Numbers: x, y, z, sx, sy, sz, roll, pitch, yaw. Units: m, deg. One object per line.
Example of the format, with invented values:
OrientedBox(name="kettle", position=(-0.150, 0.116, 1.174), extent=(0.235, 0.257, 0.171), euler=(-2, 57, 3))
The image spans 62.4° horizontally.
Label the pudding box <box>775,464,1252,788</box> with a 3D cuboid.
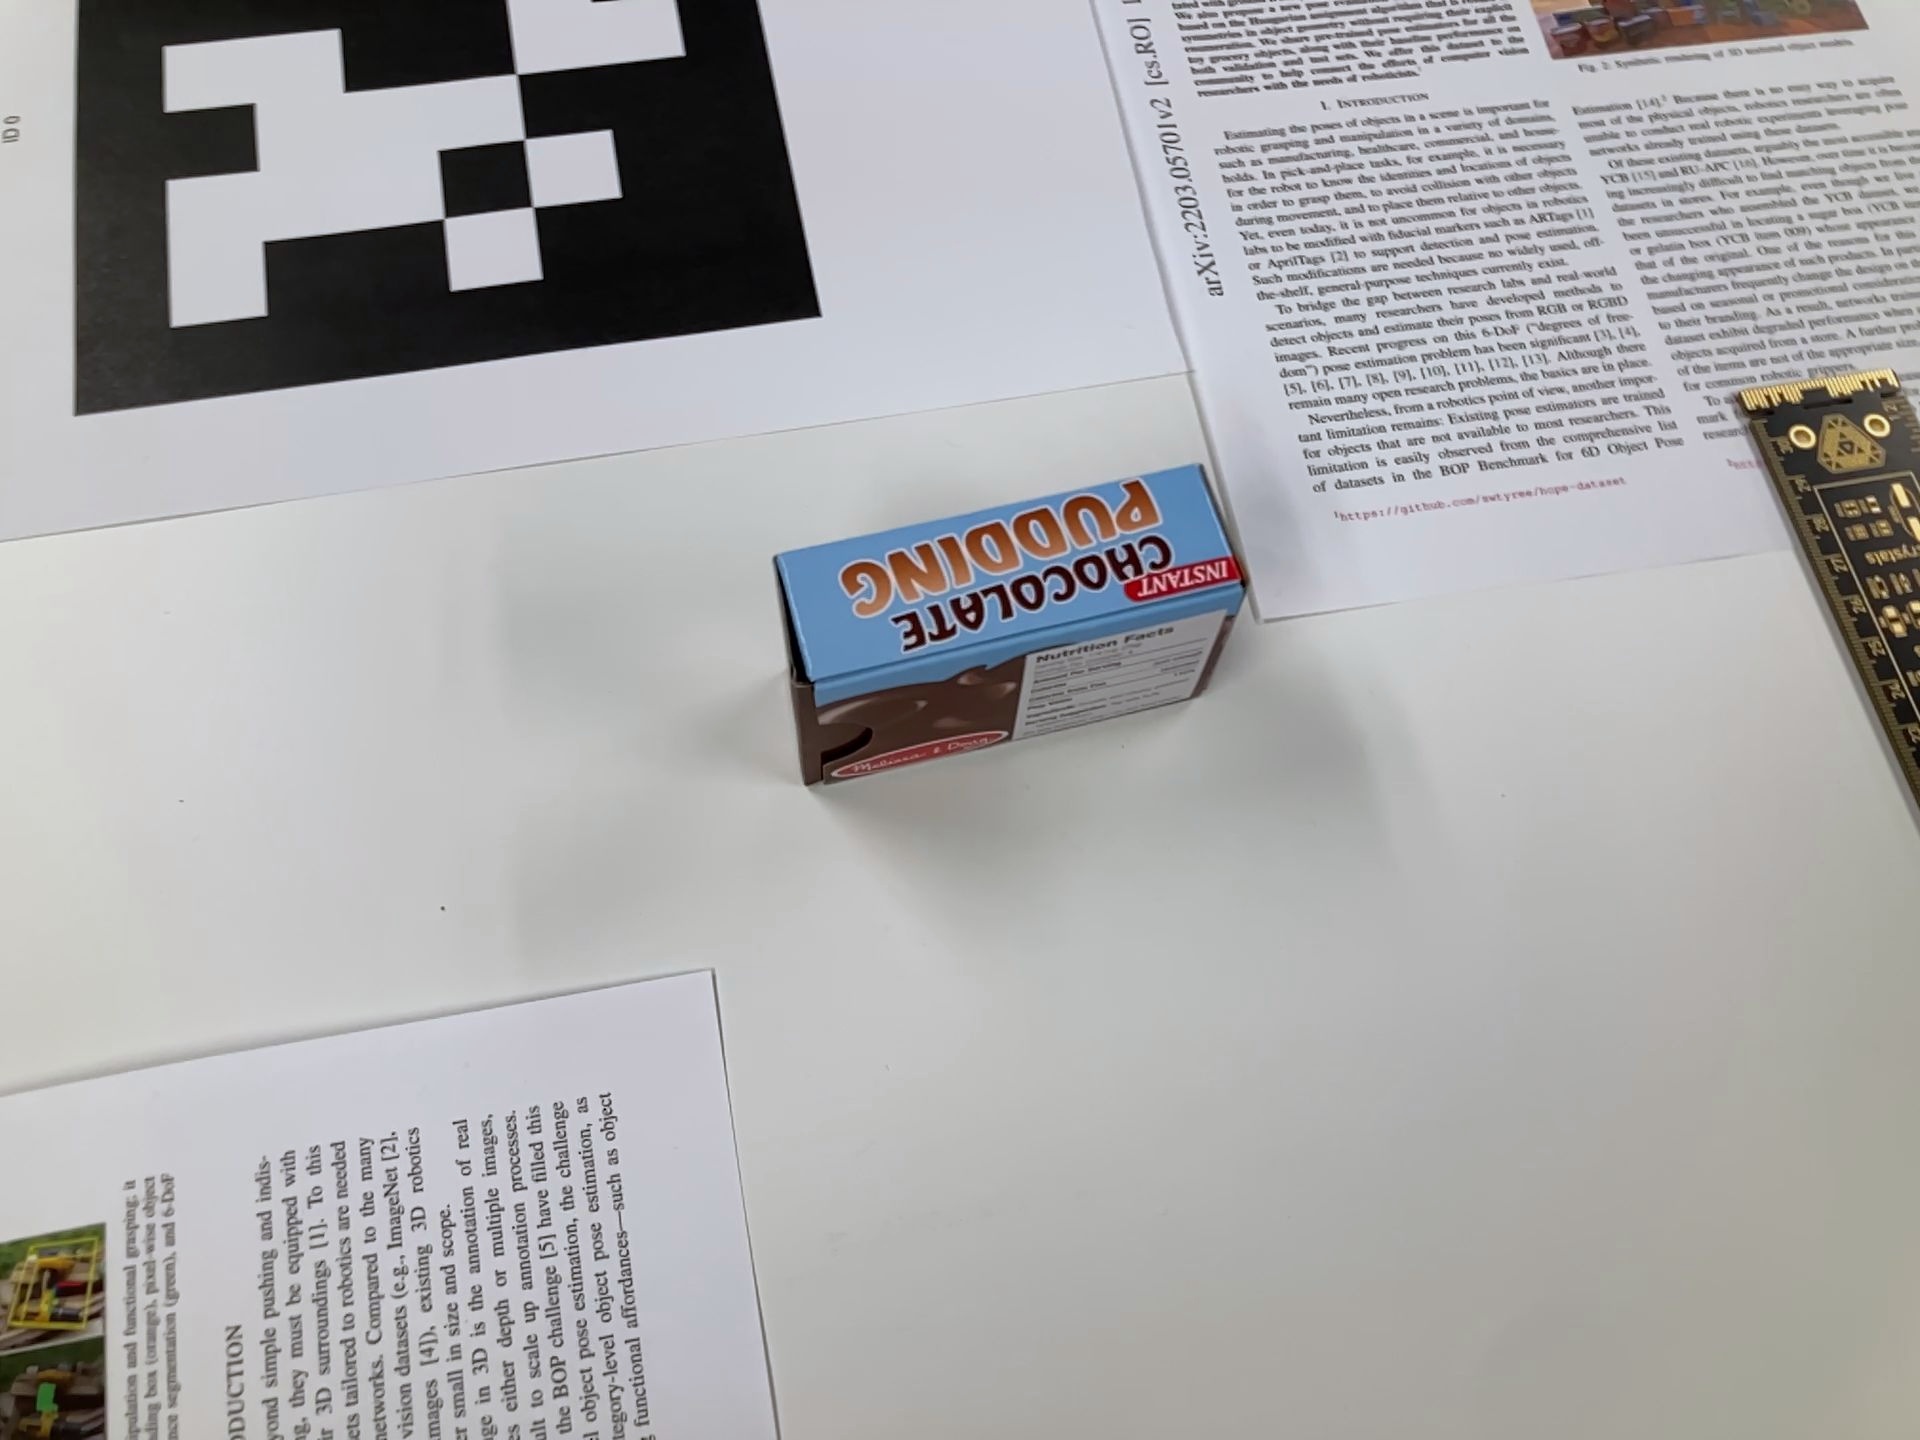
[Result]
OrientedBox(name="pudding box", position=(0.008, -0.017, 0.303), extent=(0.083, 0.049, 0.030), euler=(-13, 67, -8))
